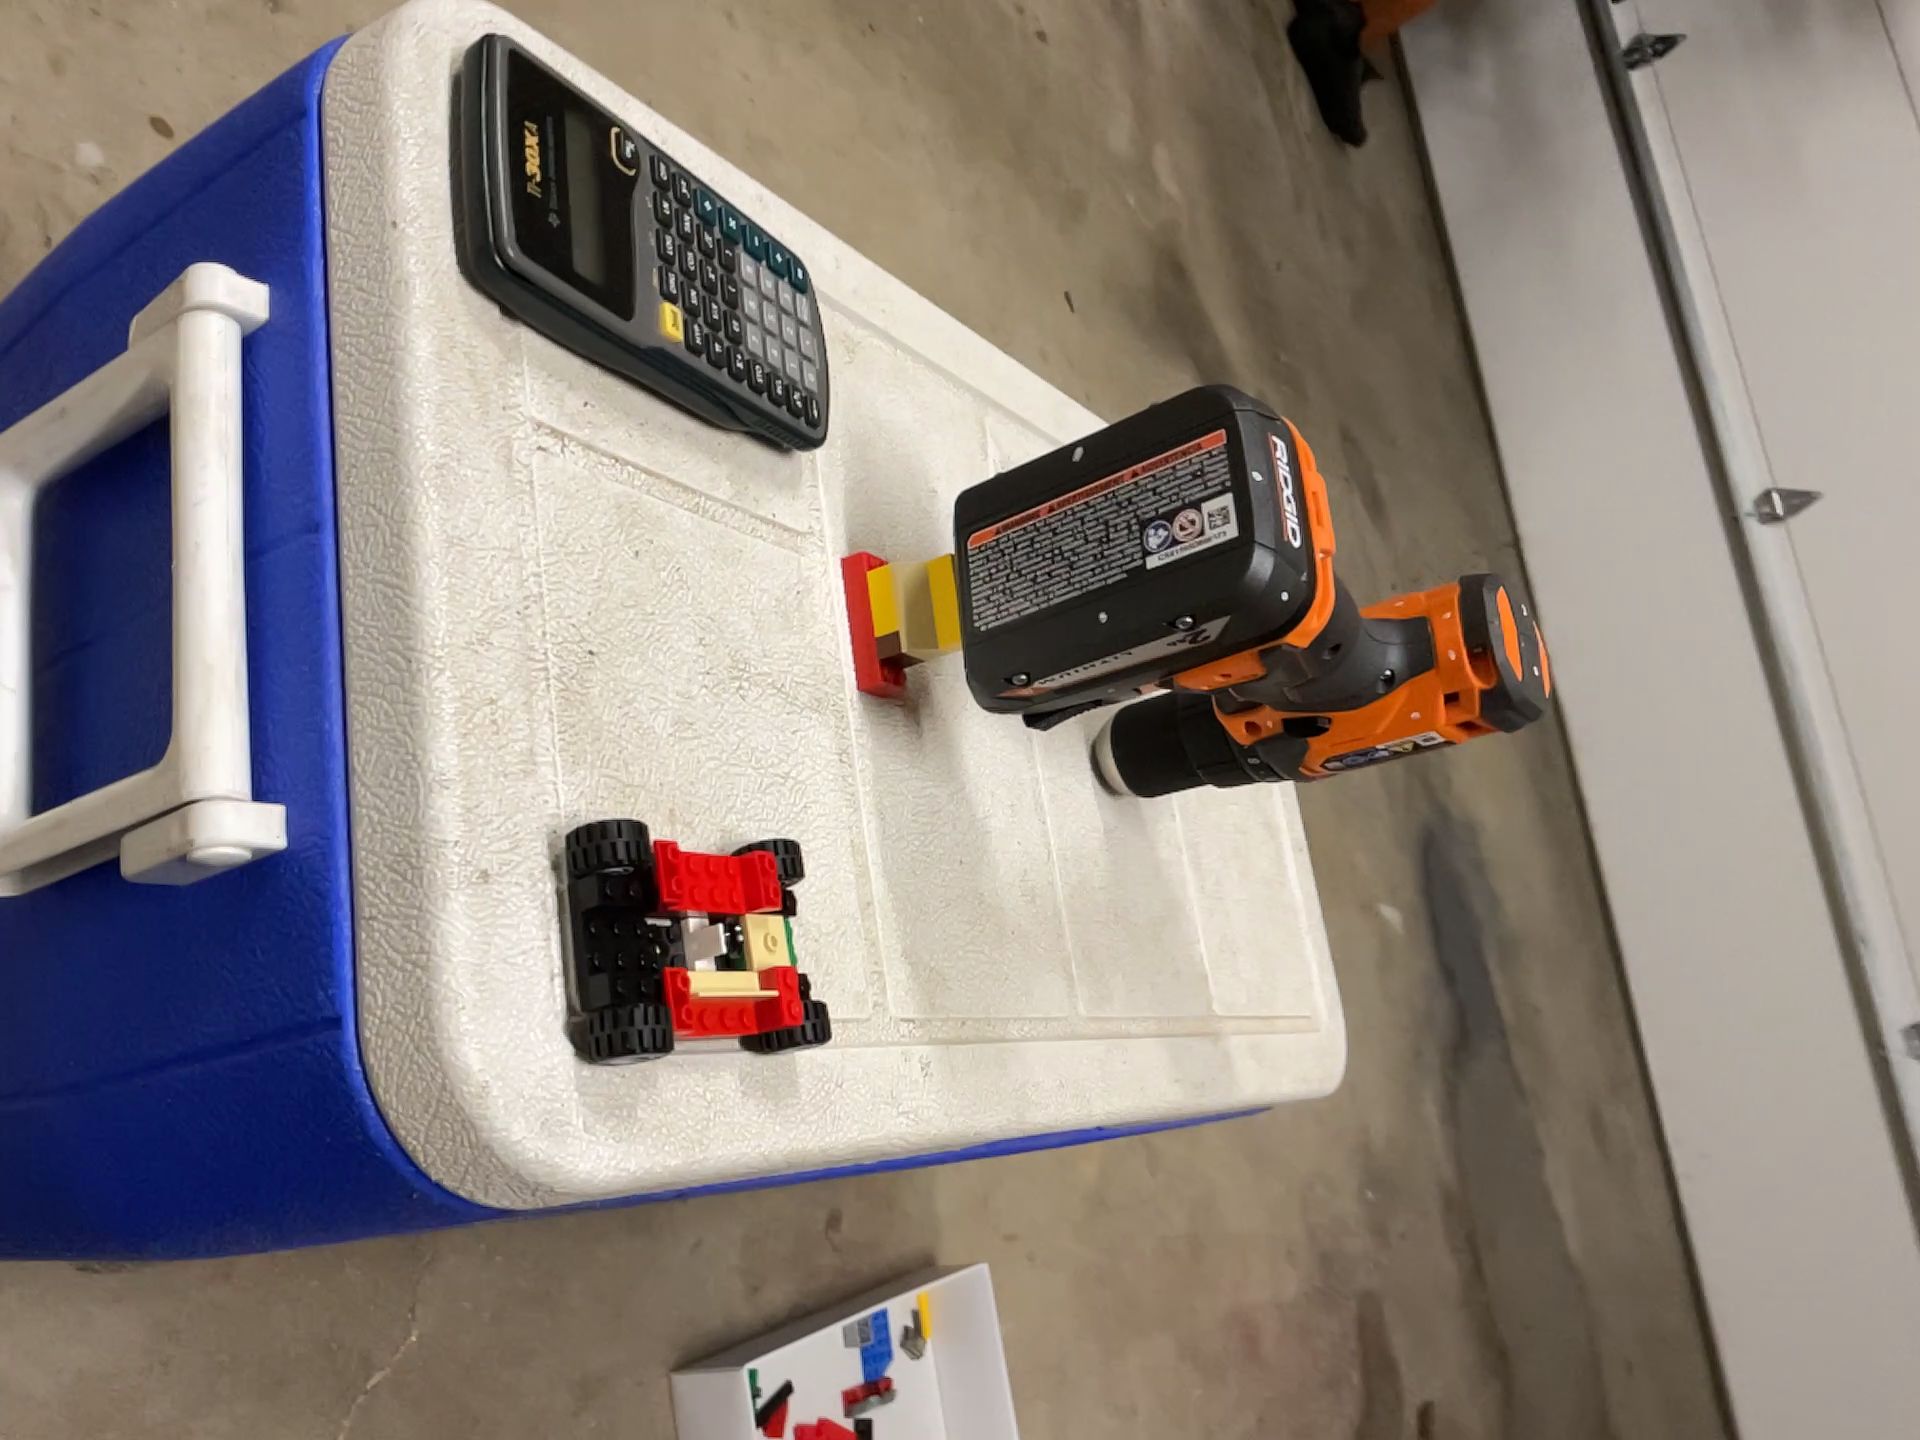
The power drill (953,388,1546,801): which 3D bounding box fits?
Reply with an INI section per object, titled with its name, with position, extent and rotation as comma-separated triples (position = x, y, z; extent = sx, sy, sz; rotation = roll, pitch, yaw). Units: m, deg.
[power drill]
position = 0.088, -0.024, 0.583
extent = 0.226, 0.185, 0.084
rotation = 20, 59, -49
